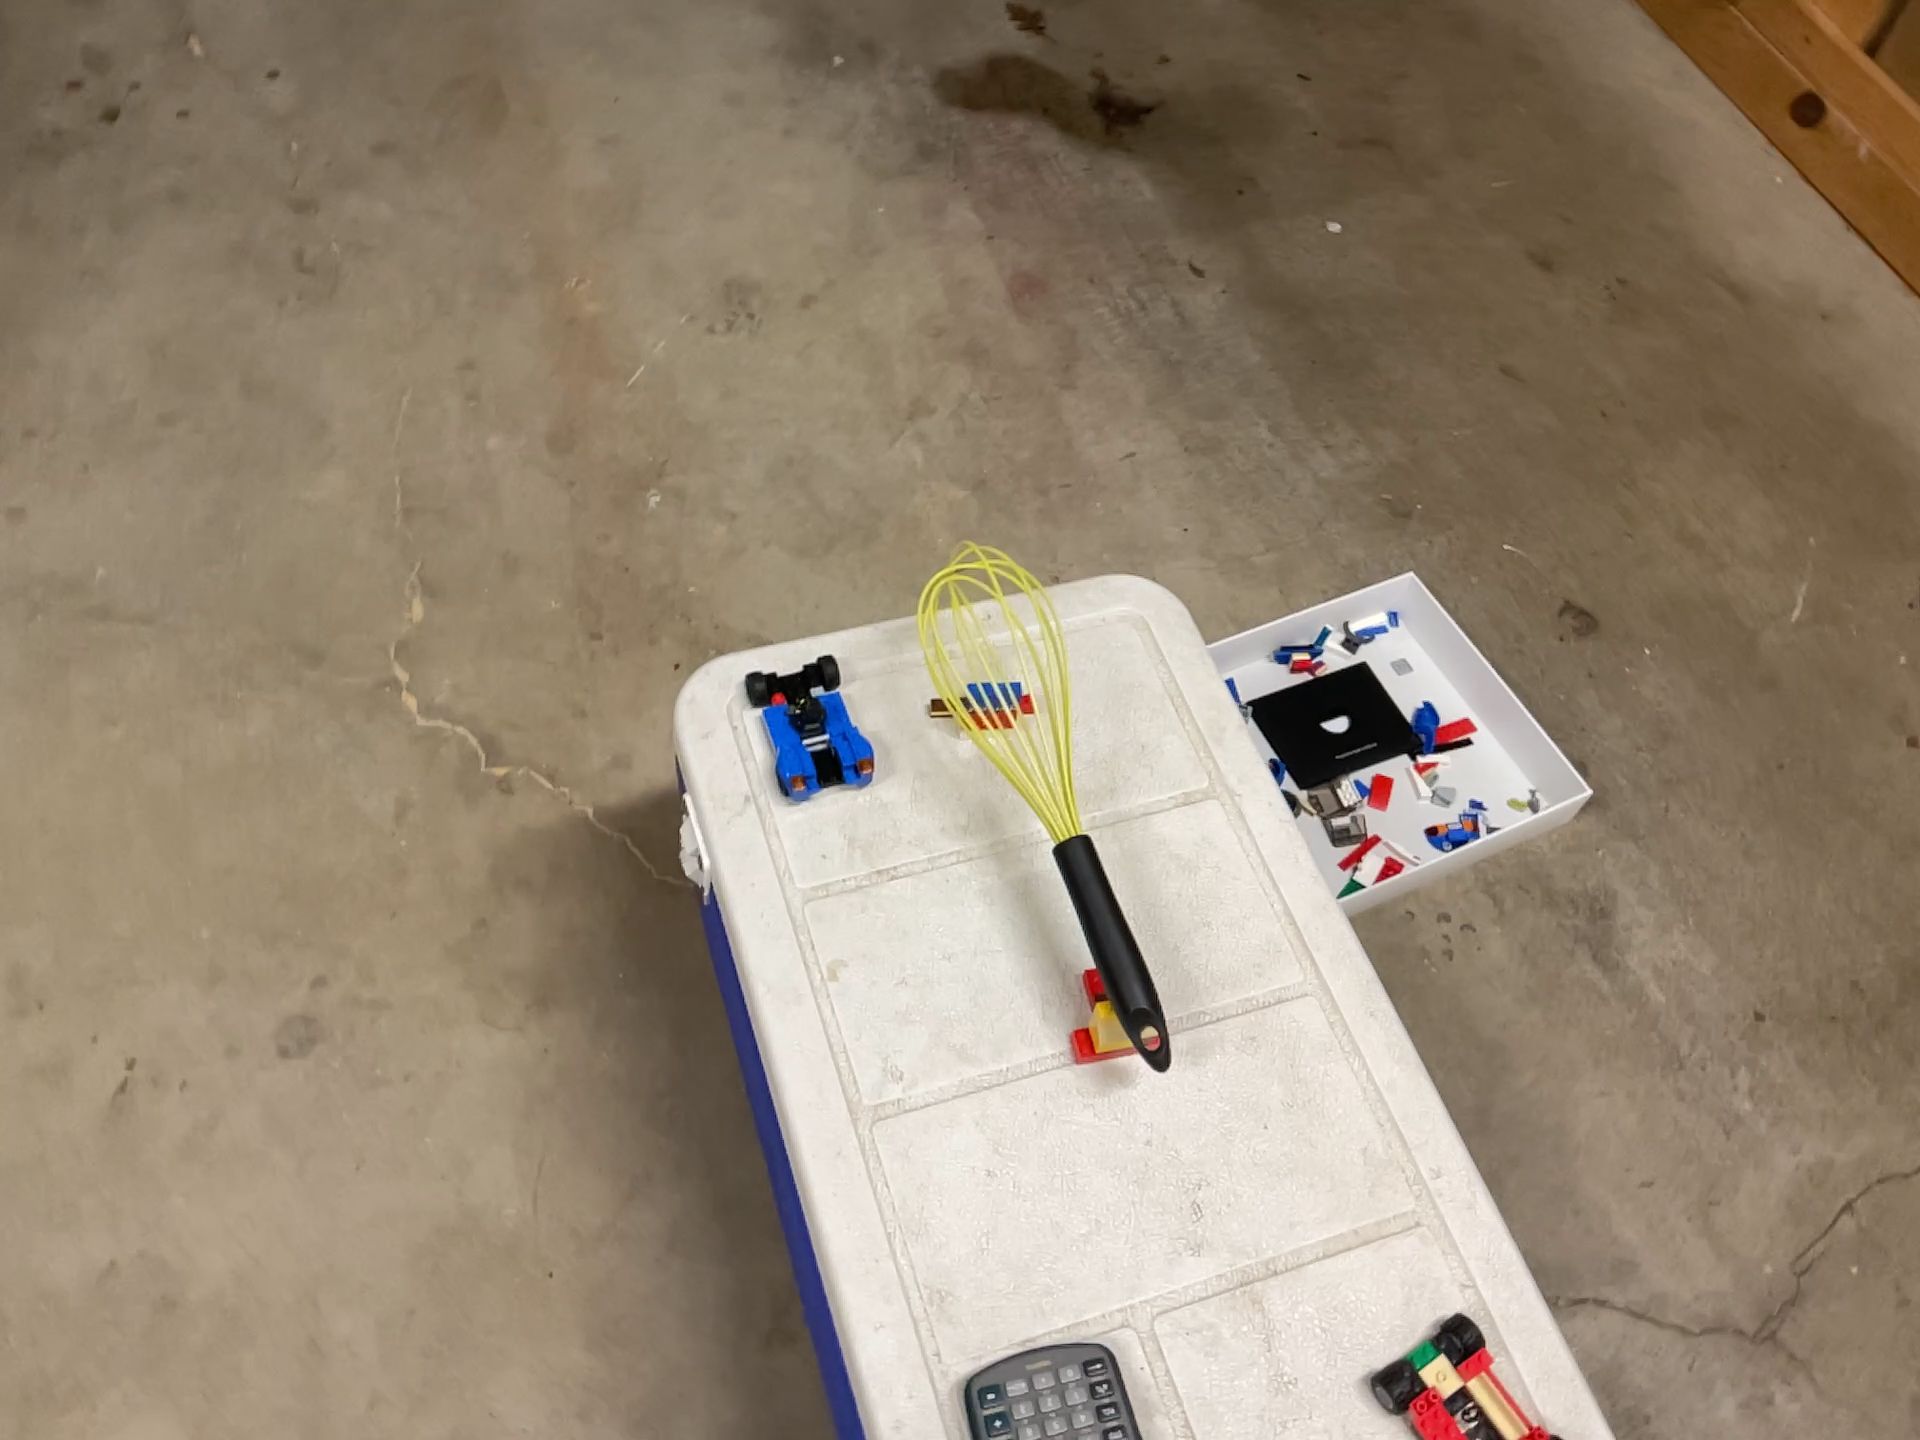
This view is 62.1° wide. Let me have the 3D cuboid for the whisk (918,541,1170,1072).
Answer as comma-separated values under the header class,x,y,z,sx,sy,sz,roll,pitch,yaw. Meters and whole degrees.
class,x,y,z,sx,sy,sz,roll,pitch,yaw
whisk,0.049,0.040,0.853,0.080,0.067,0.312,-33,65,26
